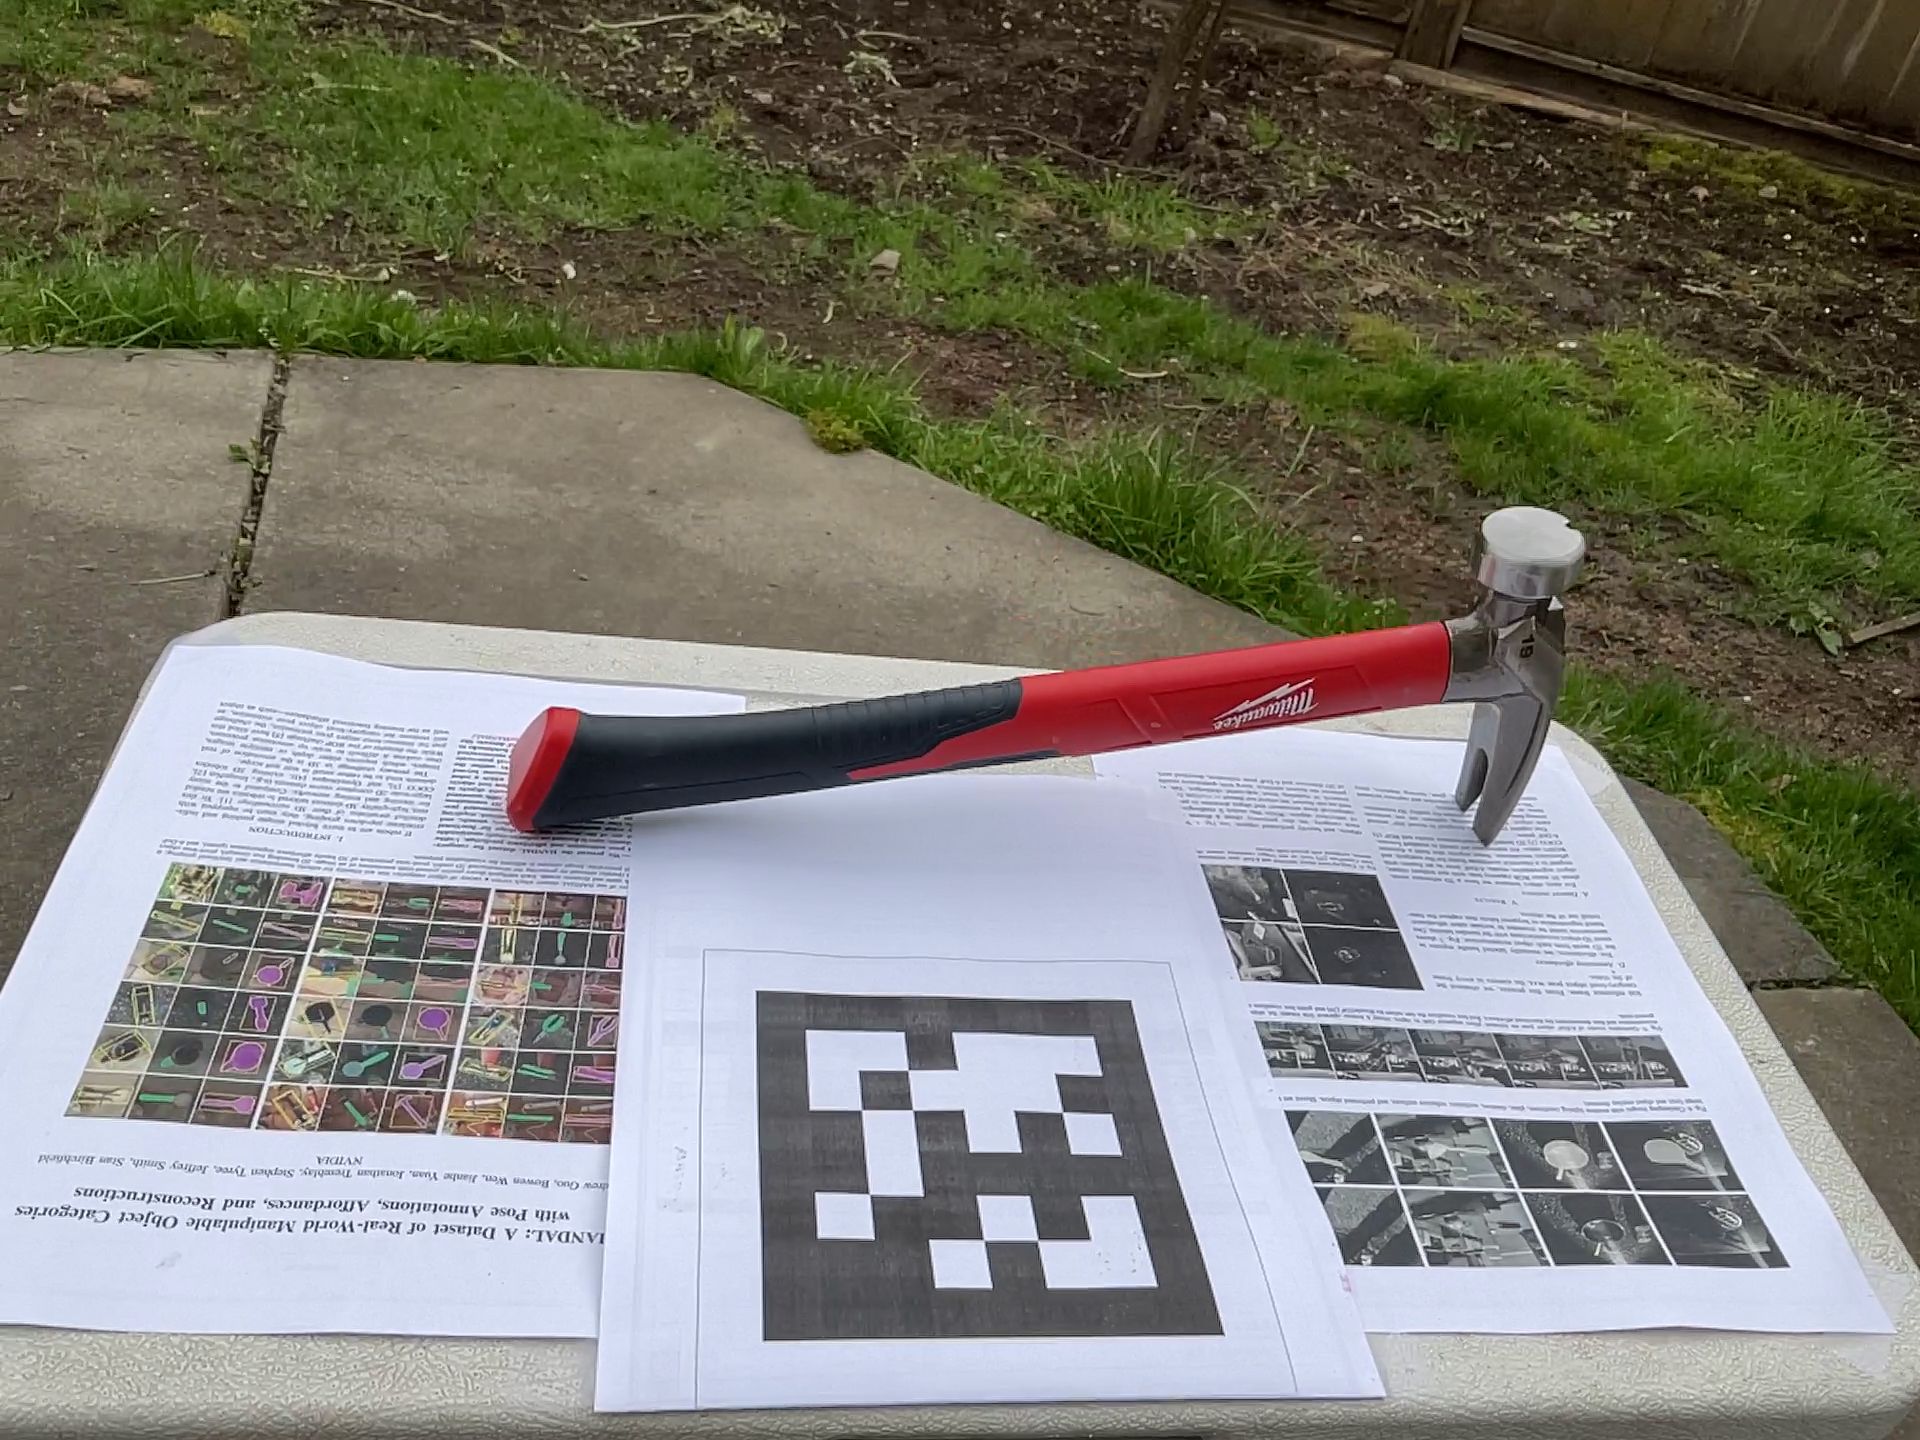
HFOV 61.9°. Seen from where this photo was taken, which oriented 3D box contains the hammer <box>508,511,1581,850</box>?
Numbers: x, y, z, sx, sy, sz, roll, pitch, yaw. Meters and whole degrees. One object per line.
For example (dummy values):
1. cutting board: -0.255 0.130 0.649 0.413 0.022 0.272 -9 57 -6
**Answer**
1. hammer: 0.032 0.012 0.595 0.386 0.143 0.038 -8 40 -7
